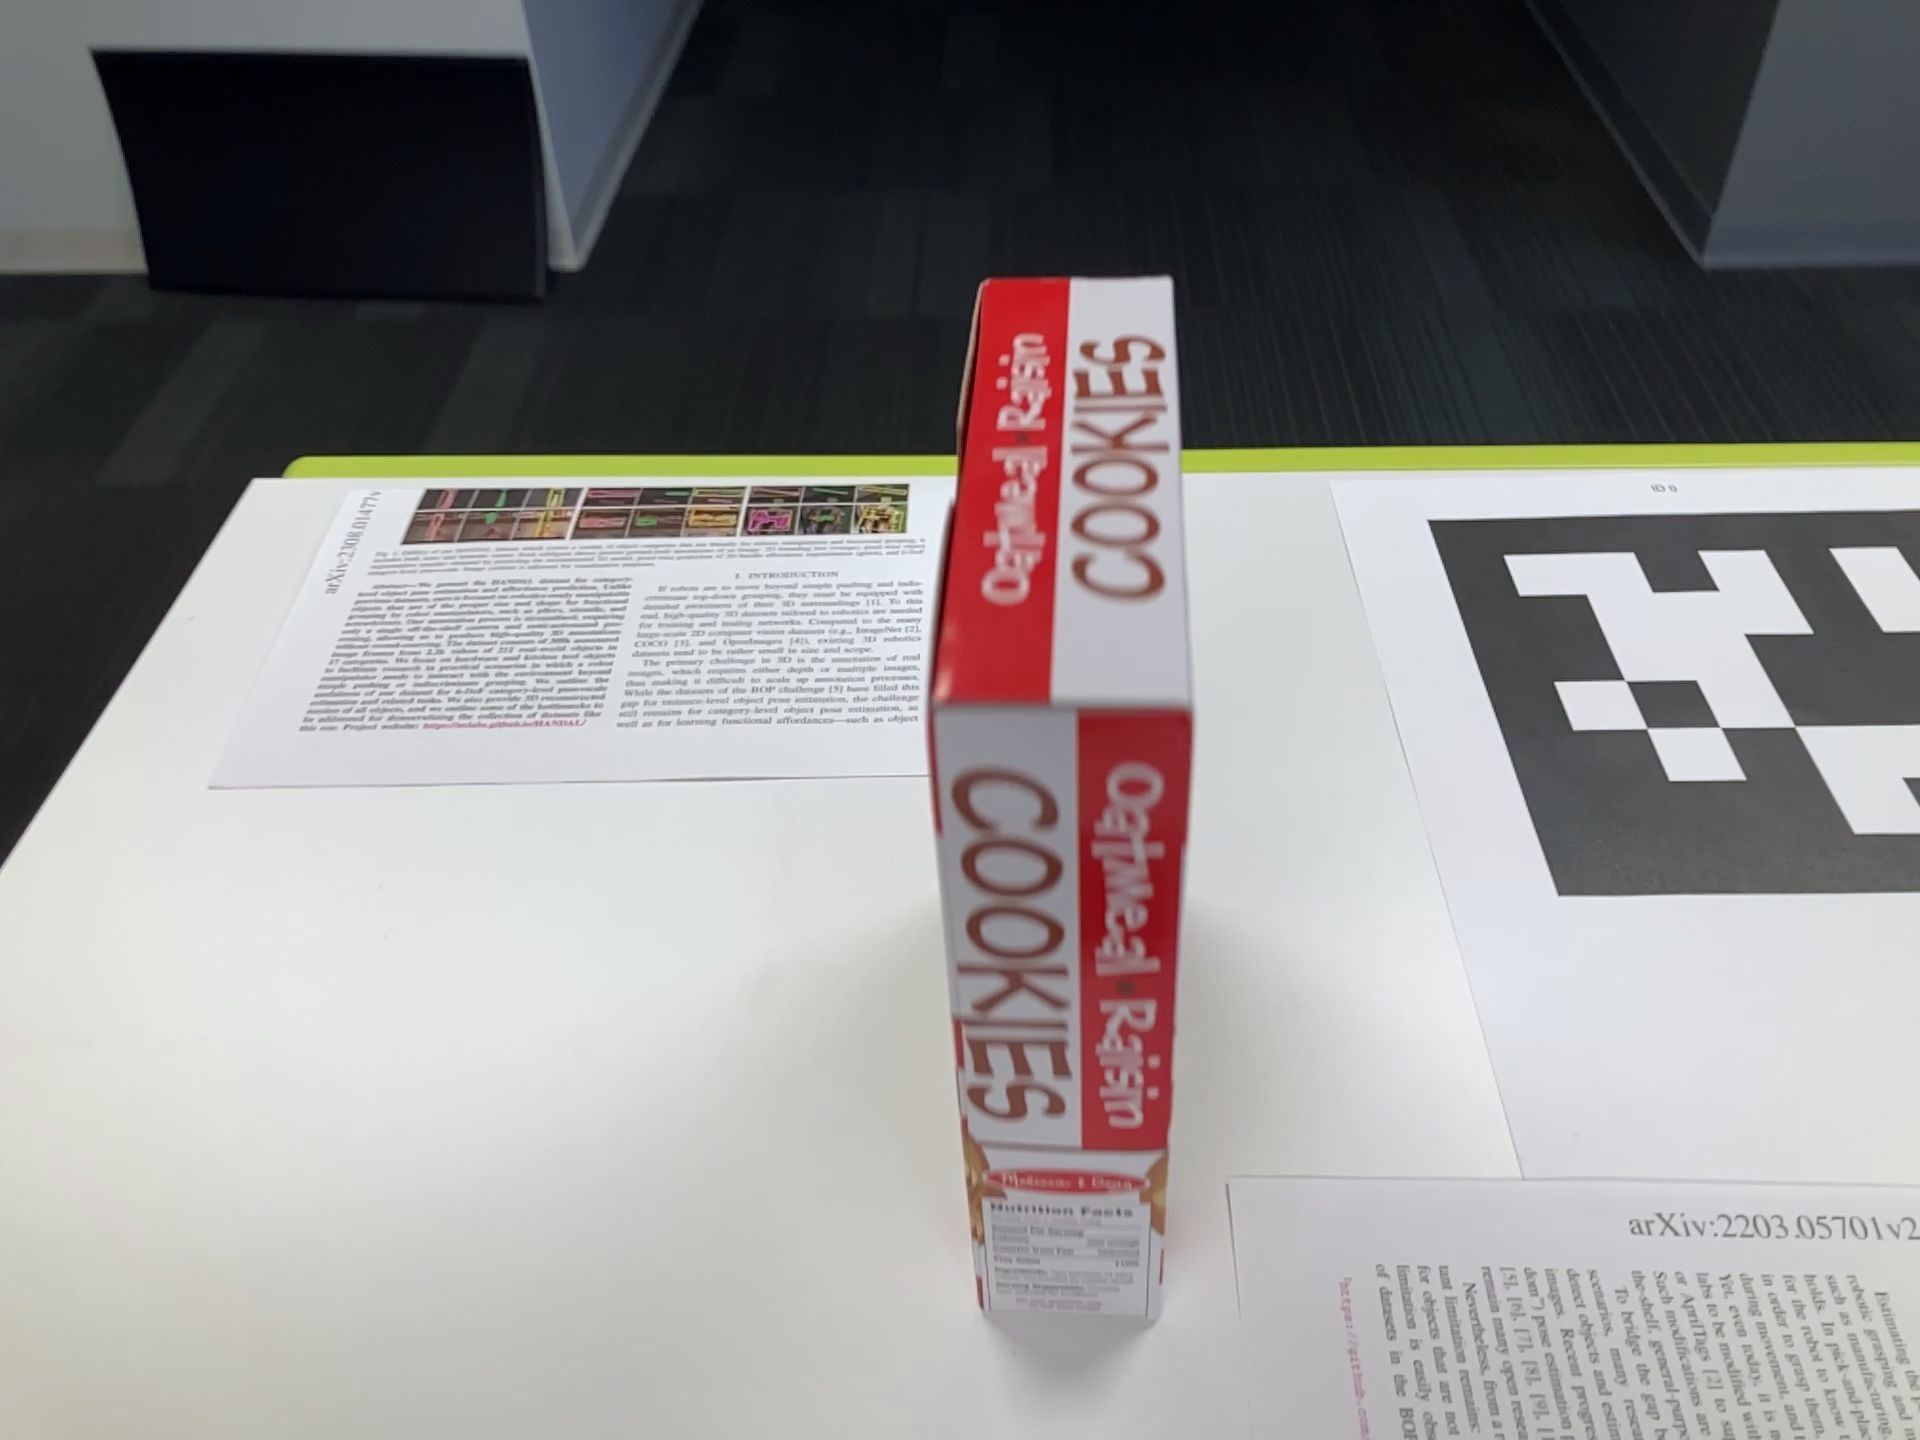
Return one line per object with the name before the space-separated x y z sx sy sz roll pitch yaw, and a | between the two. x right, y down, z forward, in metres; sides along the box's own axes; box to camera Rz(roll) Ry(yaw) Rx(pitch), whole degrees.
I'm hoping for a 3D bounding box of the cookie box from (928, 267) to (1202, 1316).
cookie box | 0.020 0.017 0.309 0.040 0.167 0.123 1 42 4
